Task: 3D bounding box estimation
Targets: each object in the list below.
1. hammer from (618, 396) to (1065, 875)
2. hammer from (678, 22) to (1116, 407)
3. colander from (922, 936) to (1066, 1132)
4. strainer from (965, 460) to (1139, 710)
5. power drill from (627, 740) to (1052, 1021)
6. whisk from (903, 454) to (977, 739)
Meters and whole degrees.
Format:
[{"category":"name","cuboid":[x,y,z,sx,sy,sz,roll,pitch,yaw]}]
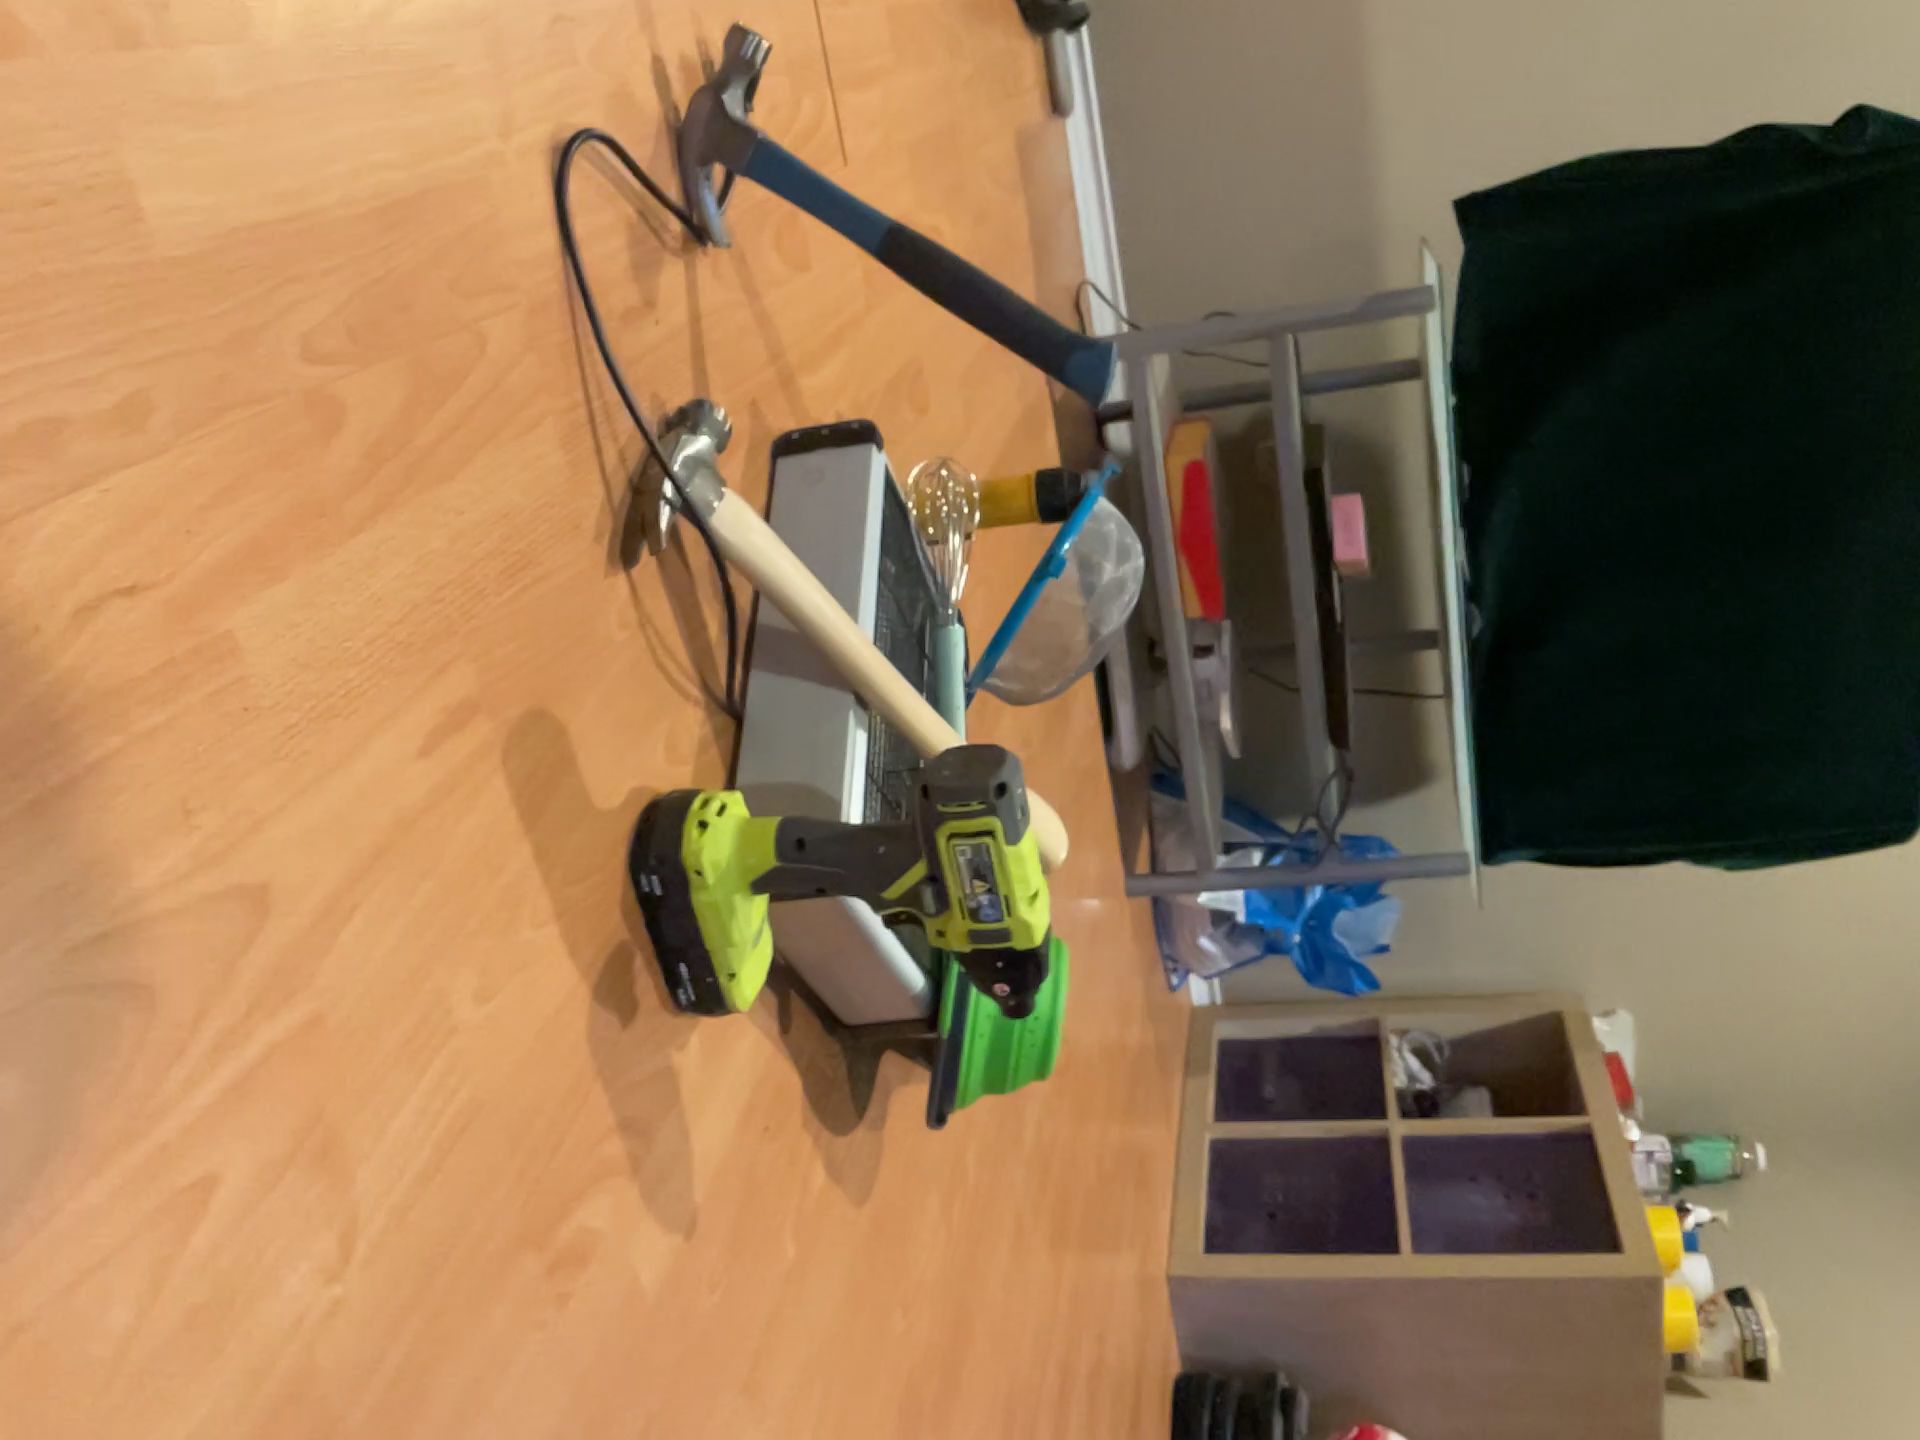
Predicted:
[{"category":"hammer","cuboid":[-0.060,-0.022,1.044,0.410,0.038,0.146,46,33,-30]},{"category":"hammer","cuboid":[-0.038,-0.311,1.052,0.128,0.331,0.033,-58,179,21]},{"category":"colander","cuboid":[0.027,0.248,1.309,0.396,0.094,0.204,95,3,-68]},{"category":"strainer","cuboid":[0.069,-0.050,1.410,0.340,0.095,0.211,-61,179,39]},{"category":"power drill","cuboid":[-0.061,0.104,0.917,0.080,0.223,0.171,-70,152,-59]},{"category":"whisk","cuboid":[-0.011,-0.081,1.232,0.058,0.059,0.246,-177,-95,-74]}]
